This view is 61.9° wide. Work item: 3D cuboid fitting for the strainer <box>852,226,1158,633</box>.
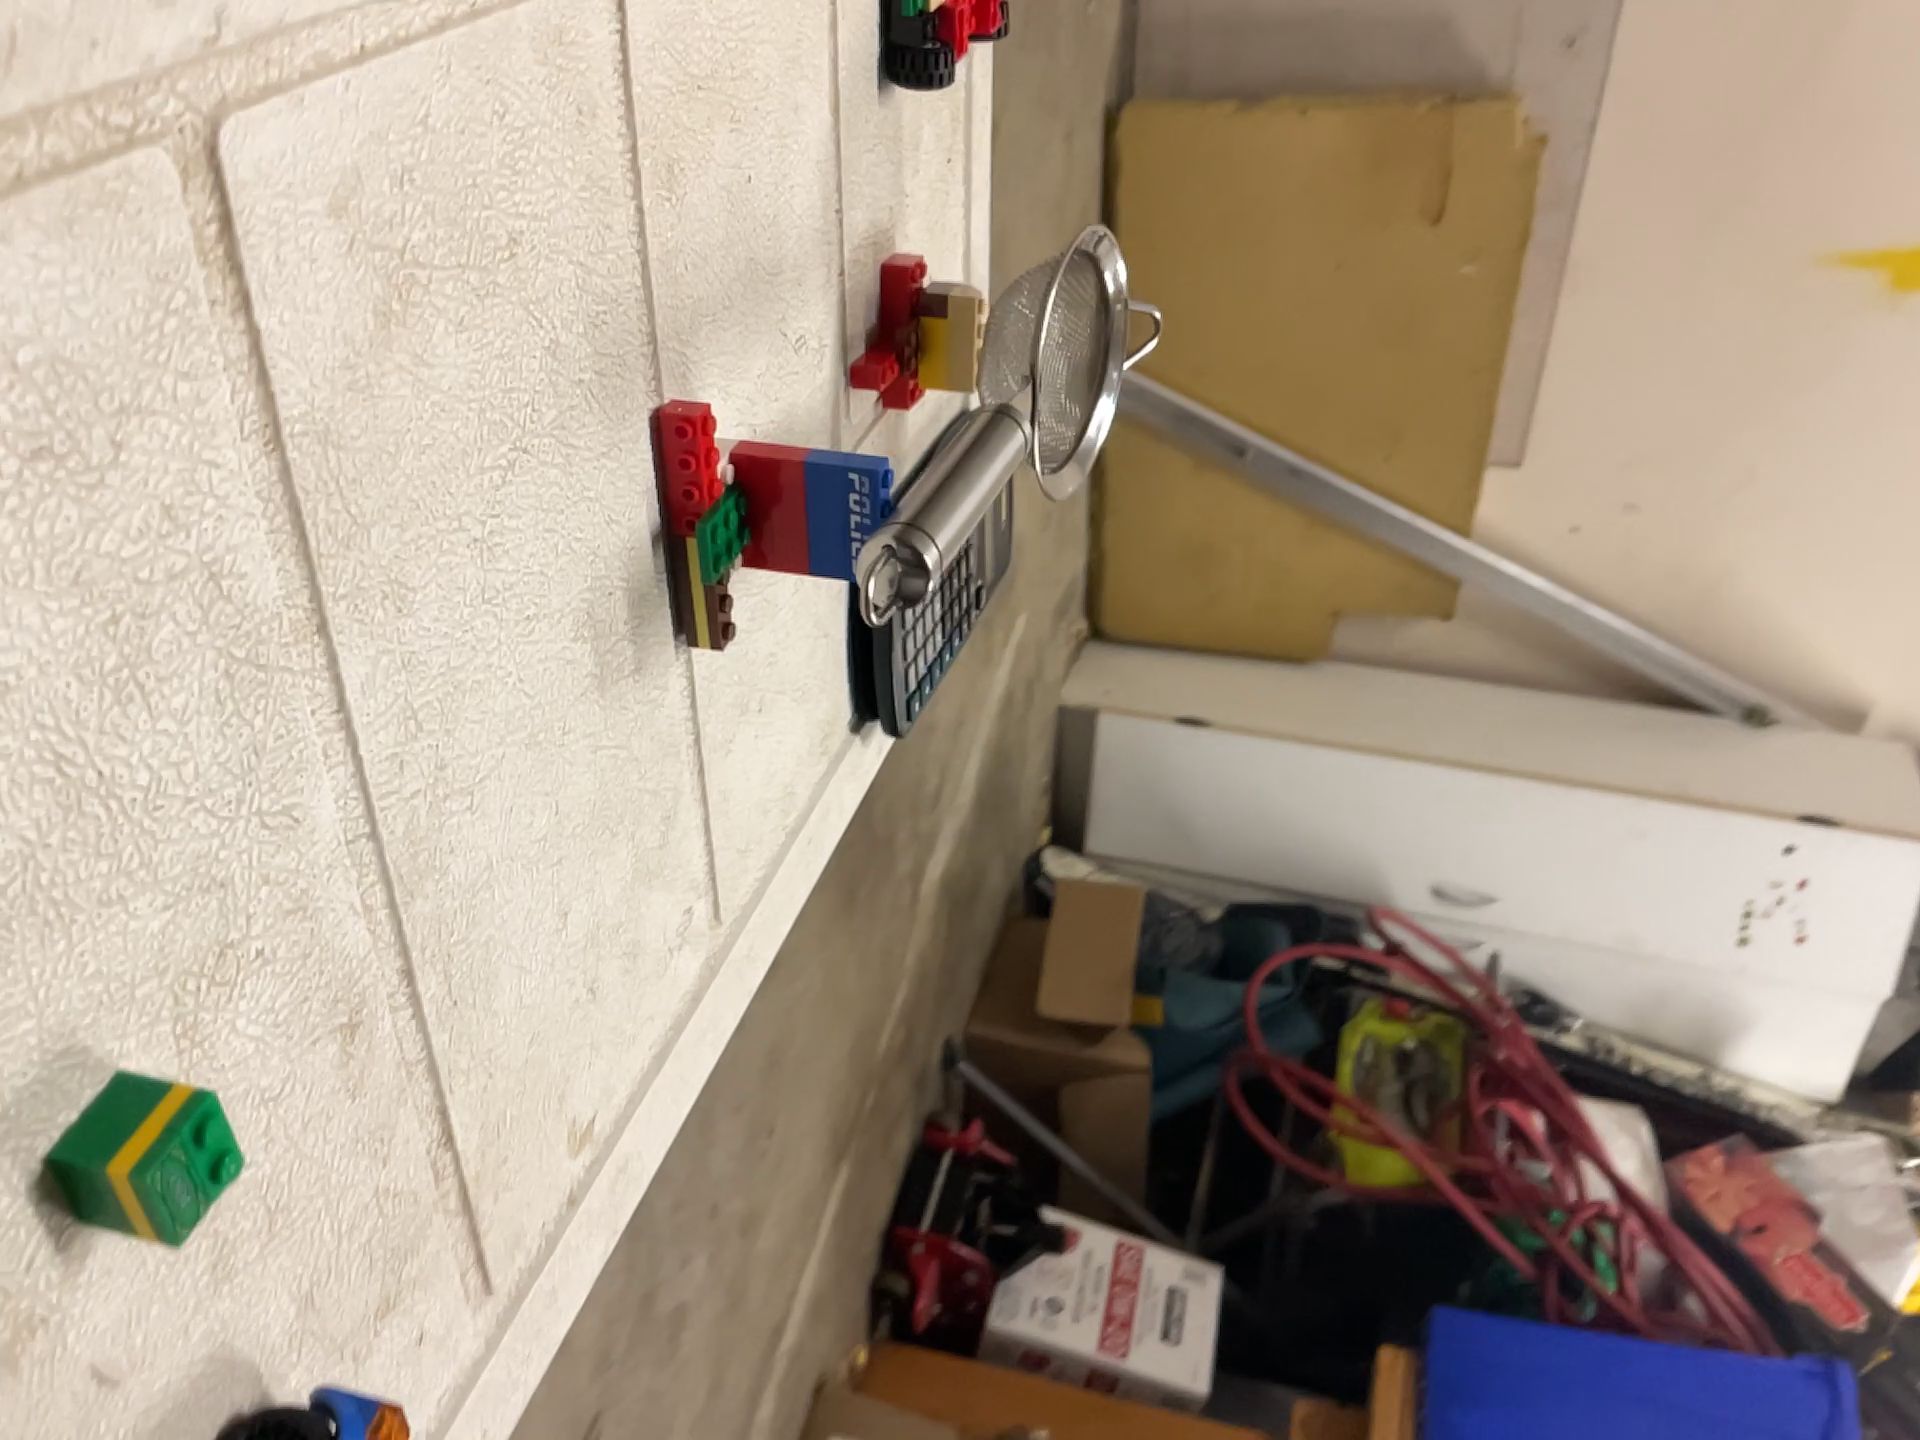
[{"bbox_3d":[0.011,-0.085,0.462,0.259,0.050,0.086,-60,154,-58],"label":"strainer"}]
